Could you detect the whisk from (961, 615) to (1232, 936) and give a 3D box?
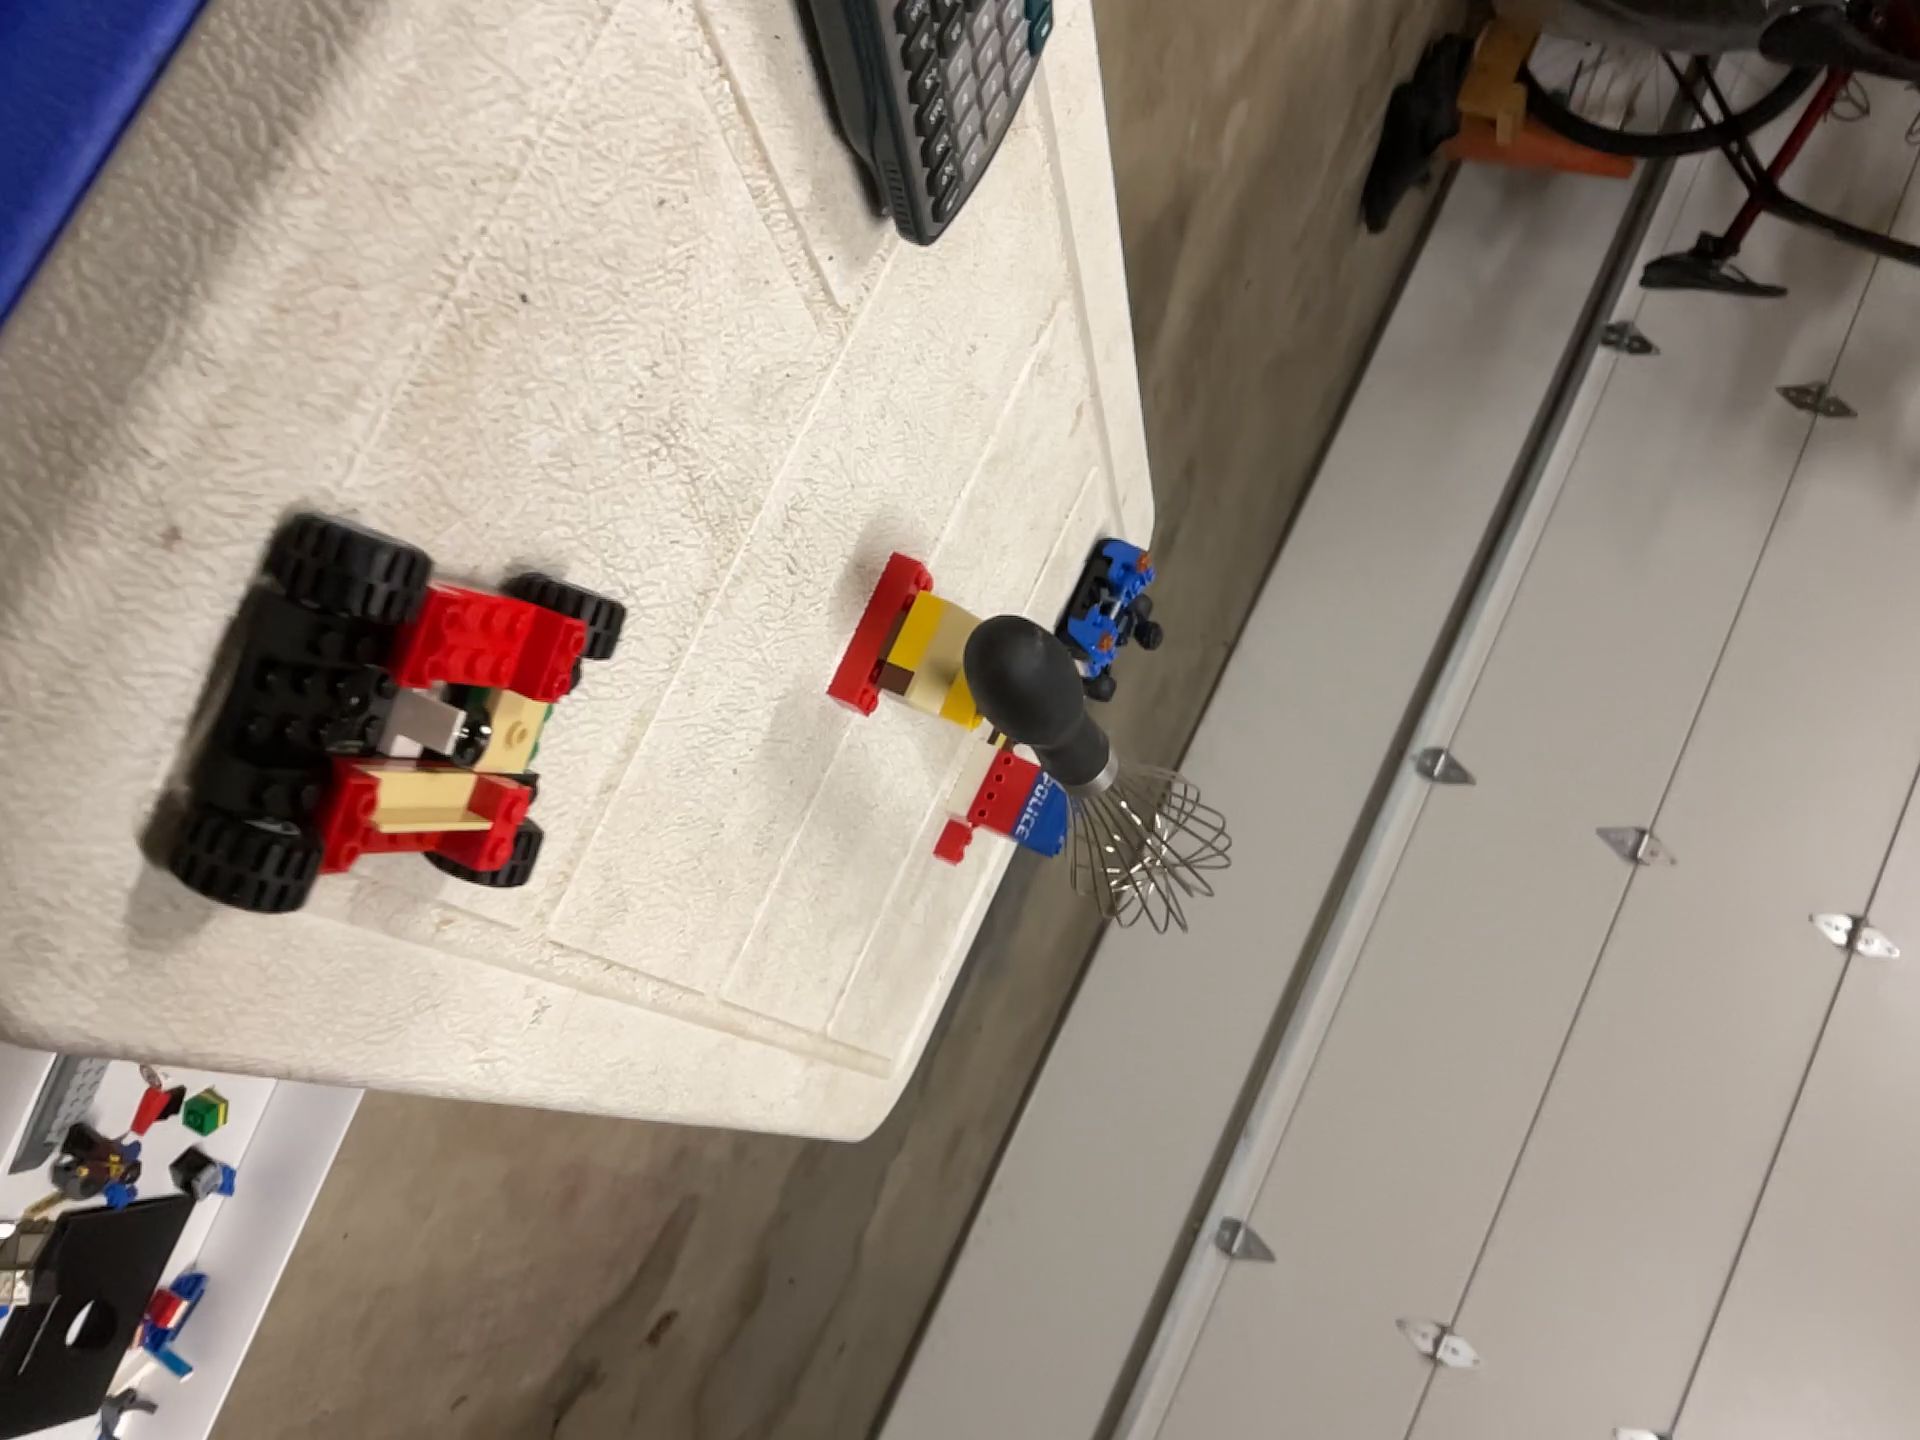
[{"bbox_3d":[0.048,0.023,0.549,0.070,0.070,0.284,-60,157,-8],"label":"whisk"}]
